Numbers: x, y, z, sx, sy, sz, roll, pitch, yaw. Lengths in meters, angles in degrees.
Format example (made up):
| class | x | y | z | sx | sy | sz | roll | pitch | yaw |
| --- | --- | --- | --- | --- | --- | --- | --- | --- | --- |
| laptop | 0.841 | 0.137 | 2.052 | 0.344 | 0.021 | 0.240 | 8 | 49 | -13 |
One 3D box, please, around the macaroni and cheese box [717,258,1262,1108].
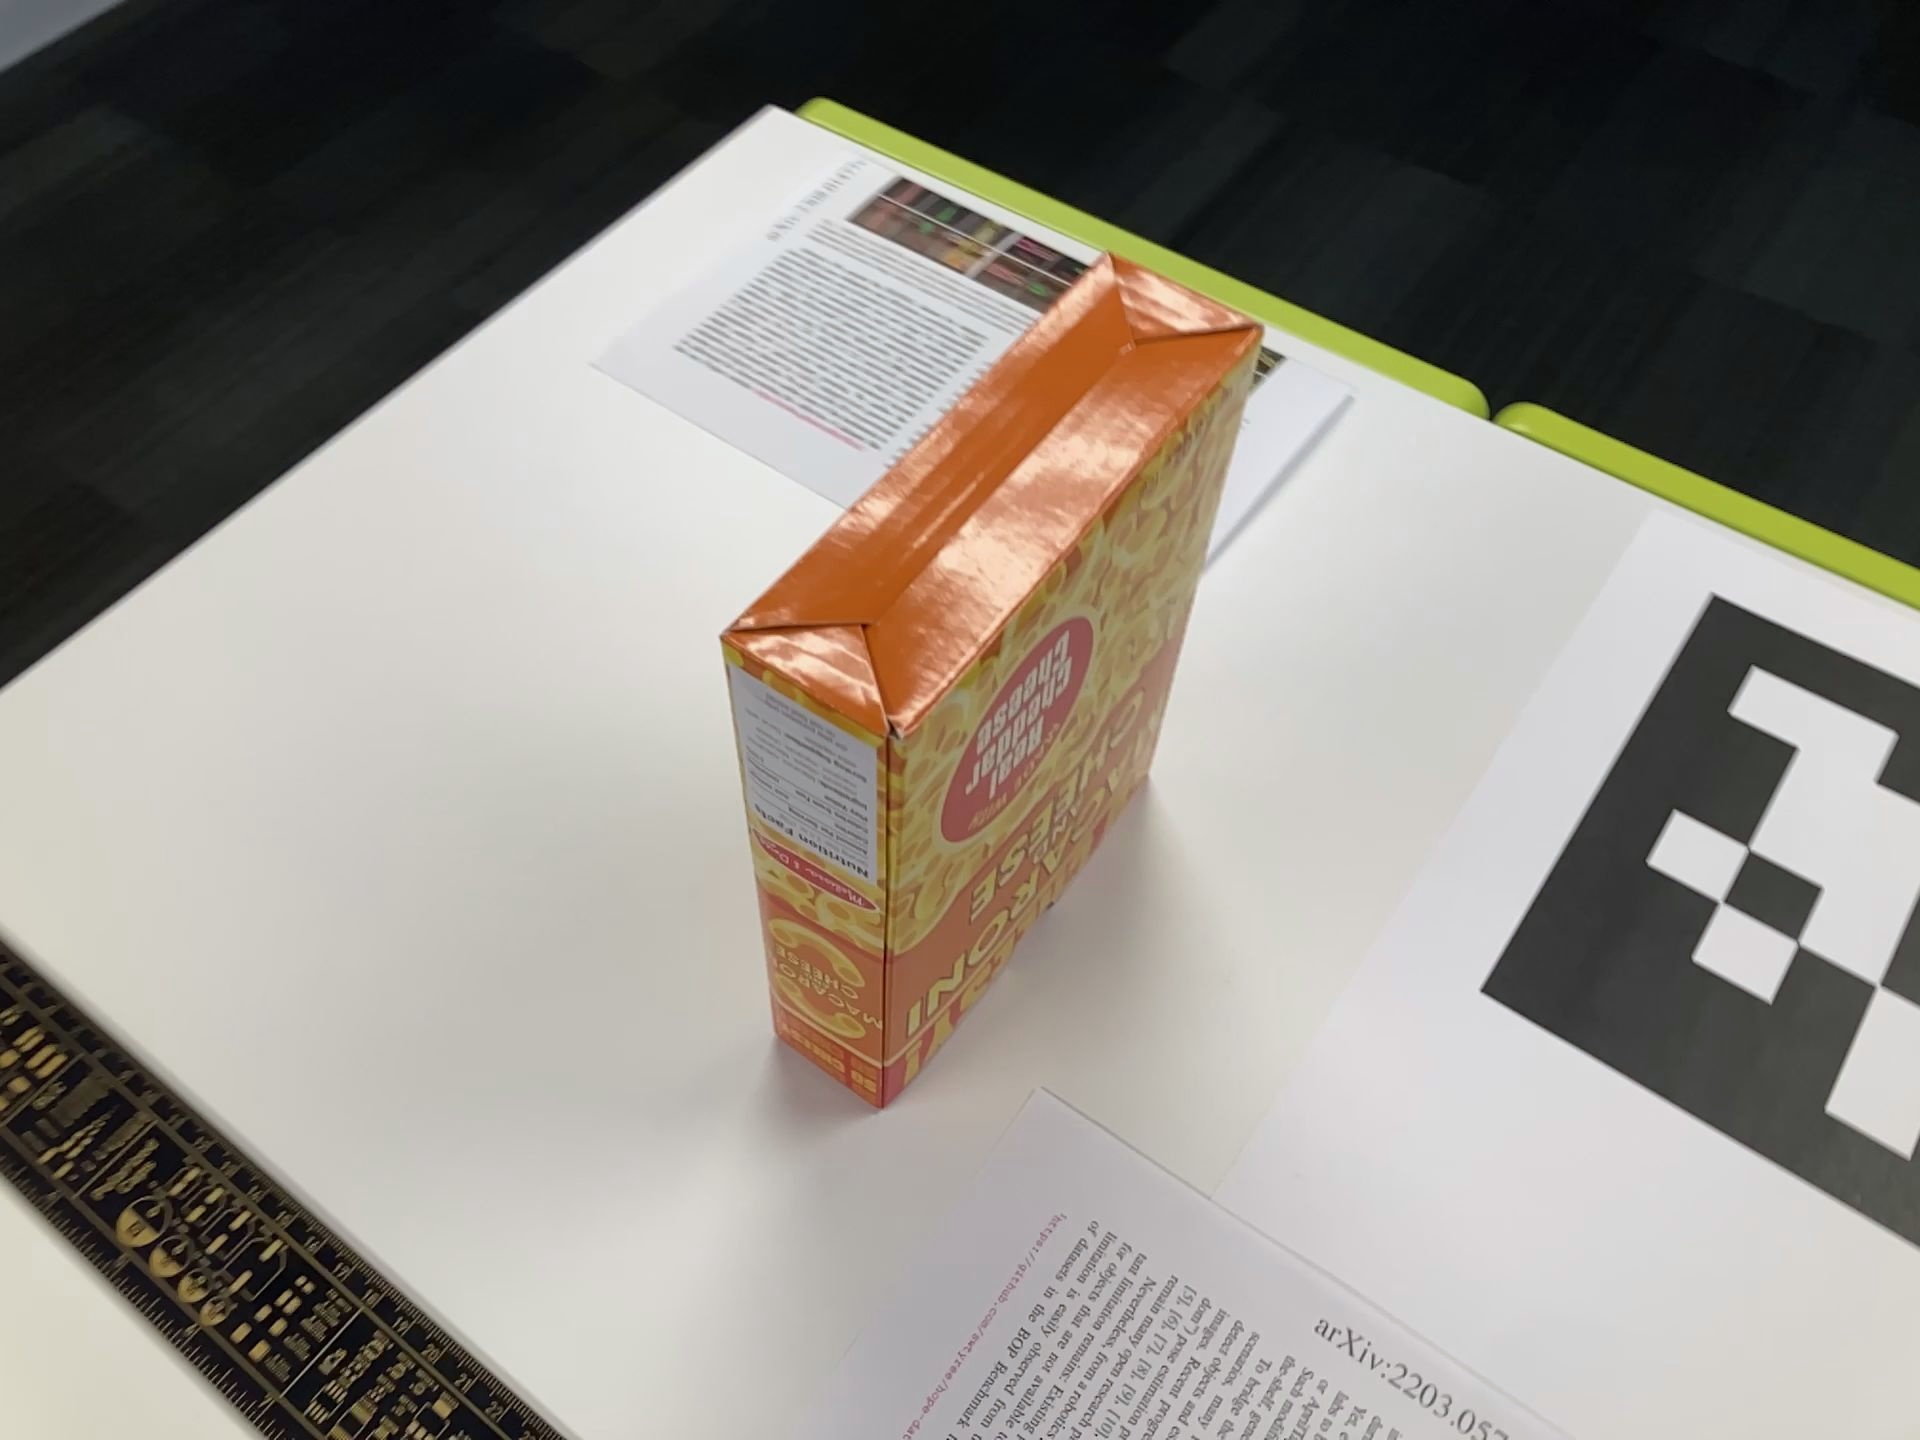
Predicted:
| class | x | y | z | sx | sy | sz | roll | pitch | yaw |
| --- | --- | --- | --- | --- | --- | --- | --- | --- | --- |
| macaroni and cheese box | 0.006 | 0.002 | 0.356 | 0.040 | 0.166 | 0.124 | 32 | 60 | 18 |
